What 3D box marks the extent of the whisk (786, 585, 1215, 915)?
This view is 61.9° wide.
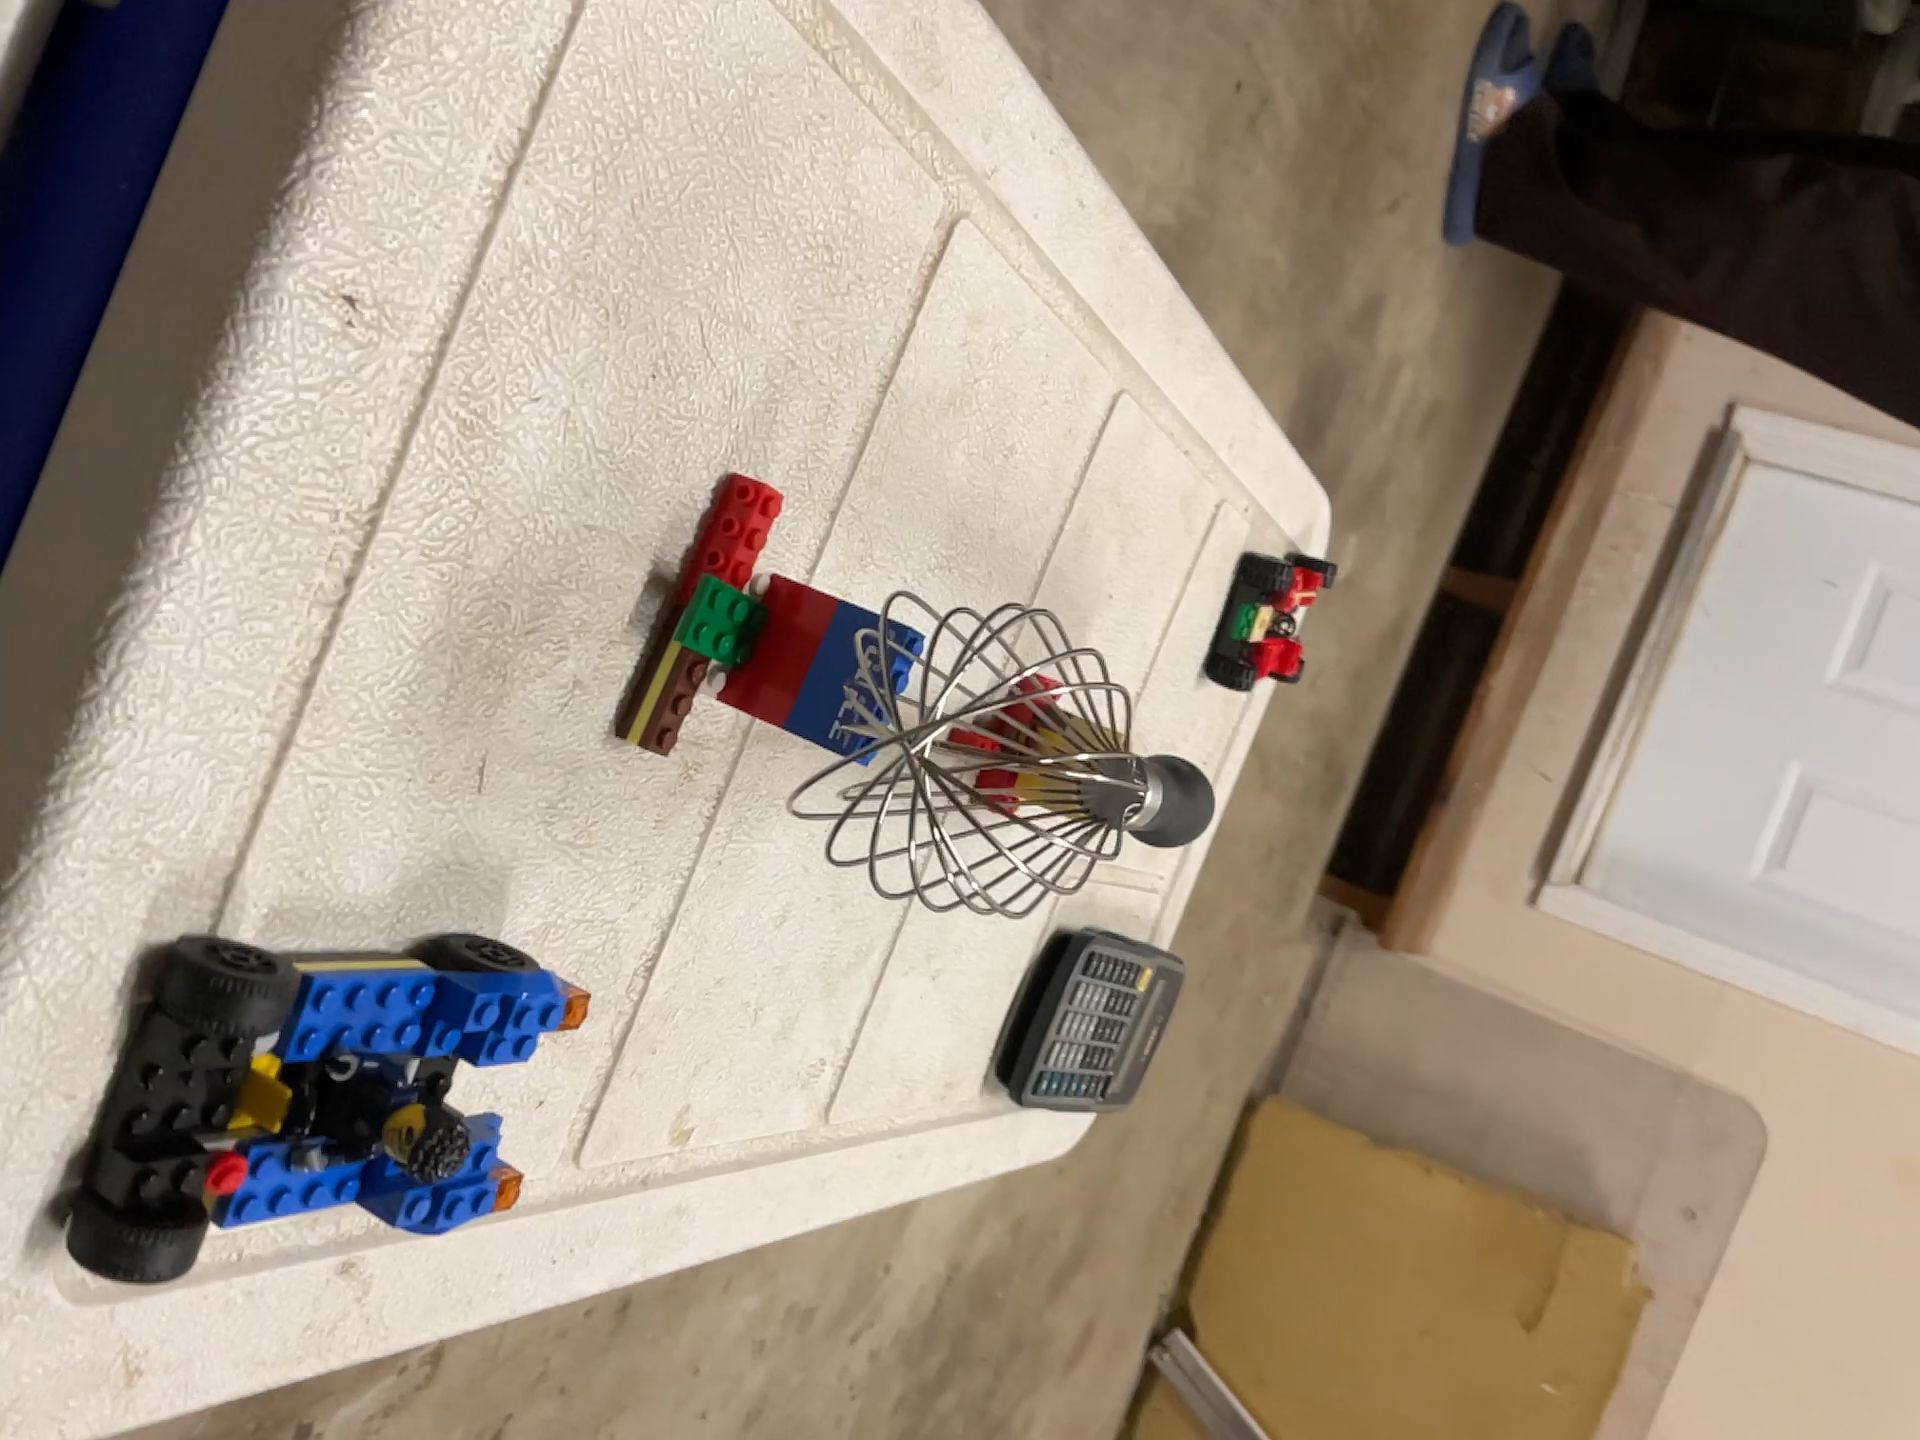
[{"bbox_3d":[0.034,0.016,0.411,0.284,0.070,0.070,16,91,-71],"label":"whisk"}]
